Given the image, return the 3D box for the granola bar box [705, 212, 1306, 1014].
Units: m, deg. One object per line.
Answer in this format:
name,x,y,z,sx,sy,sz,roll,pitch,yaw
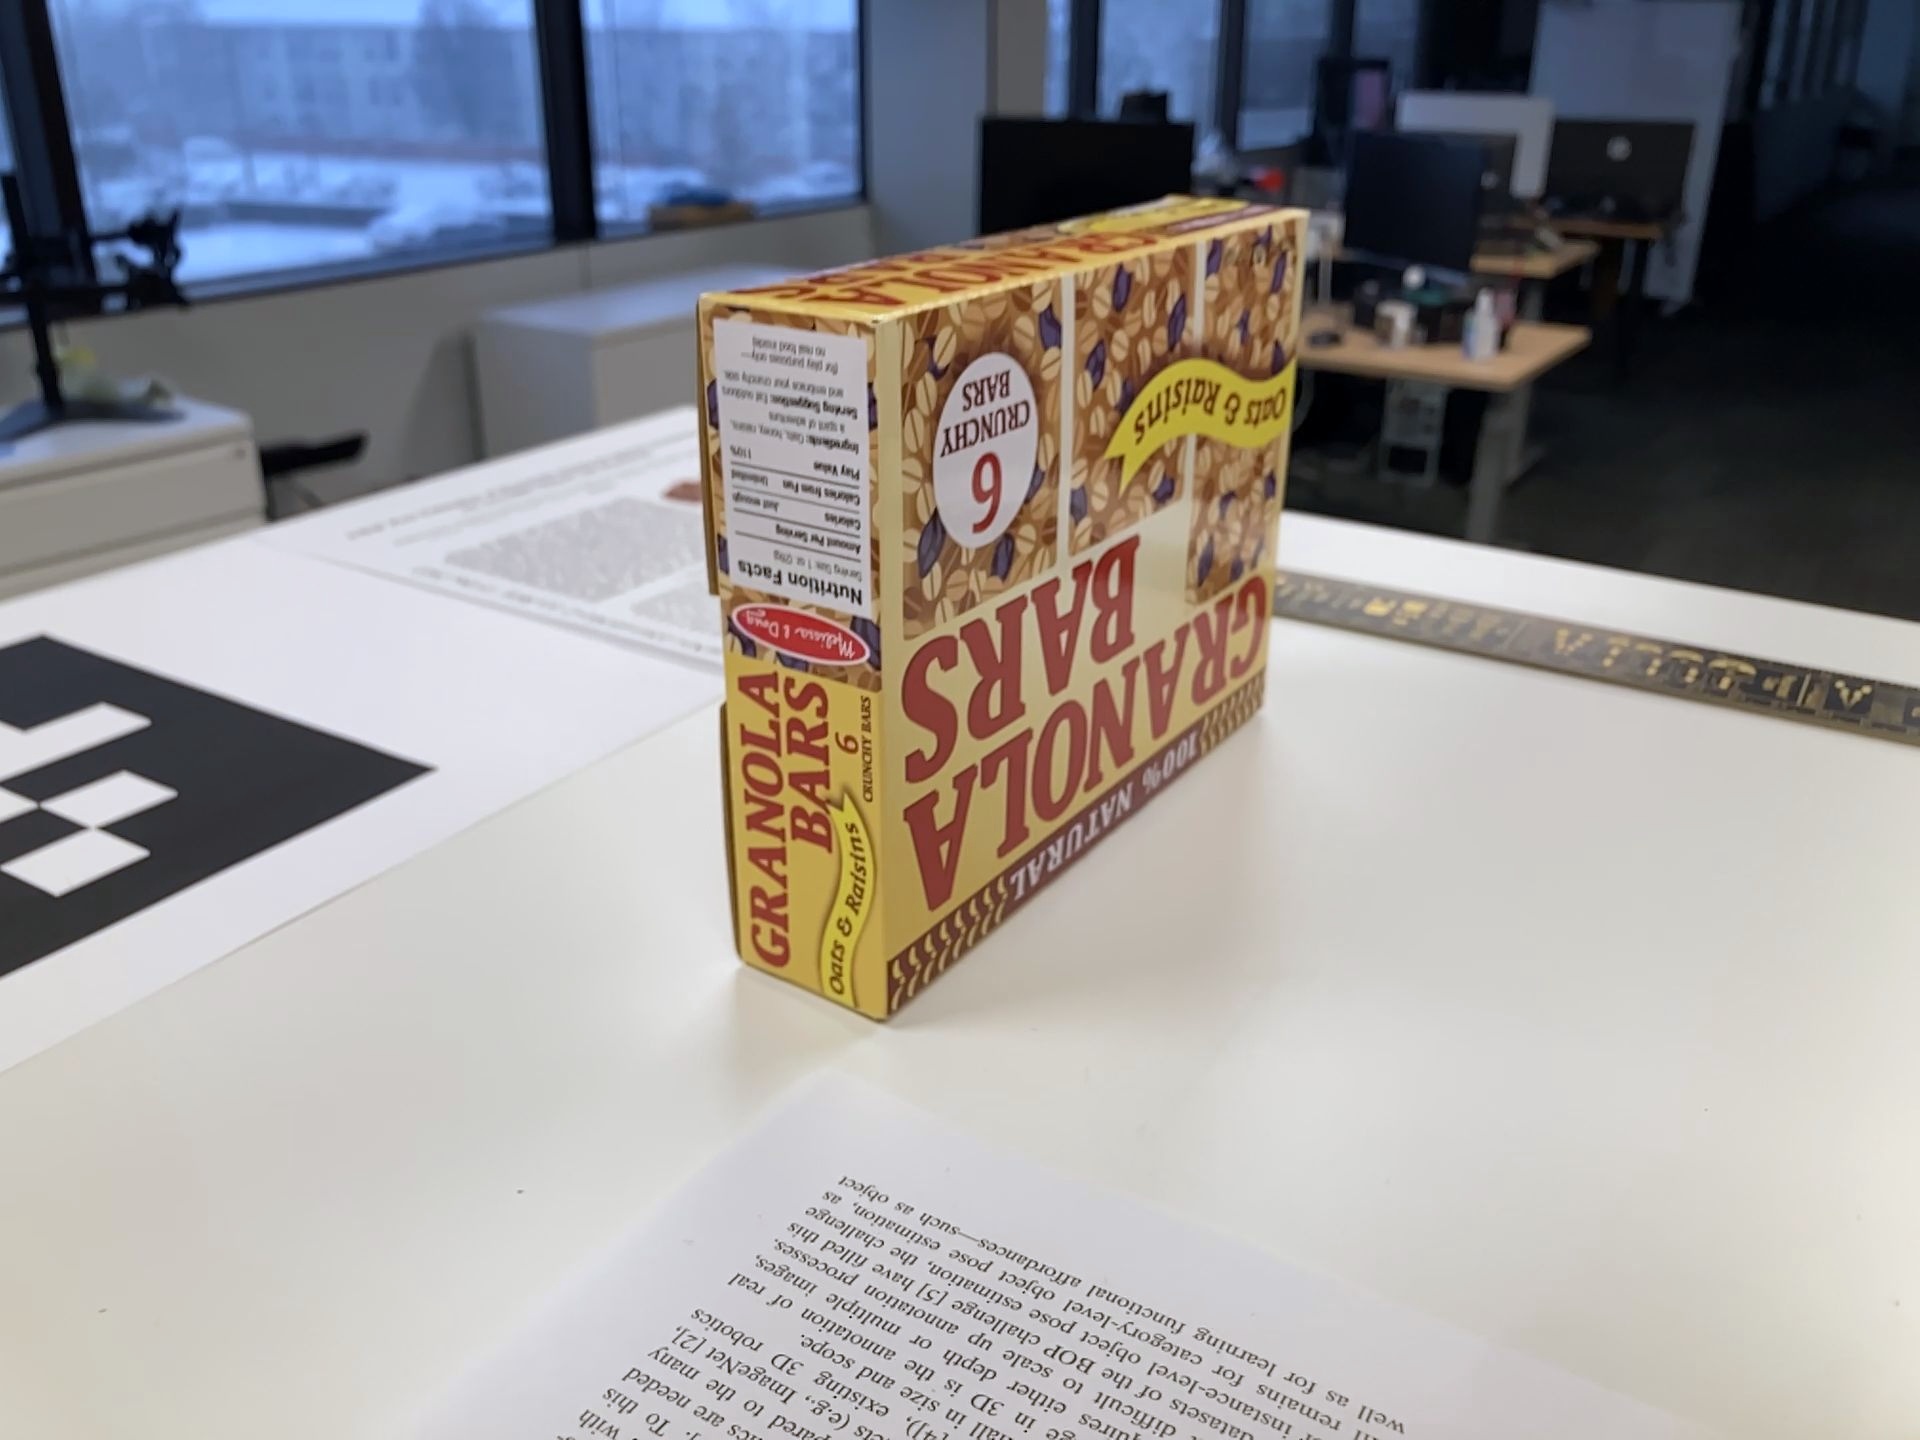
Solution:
granola bar box,0.017,-0.034,0.332,0.039,0.124,0.165,14,27,30
